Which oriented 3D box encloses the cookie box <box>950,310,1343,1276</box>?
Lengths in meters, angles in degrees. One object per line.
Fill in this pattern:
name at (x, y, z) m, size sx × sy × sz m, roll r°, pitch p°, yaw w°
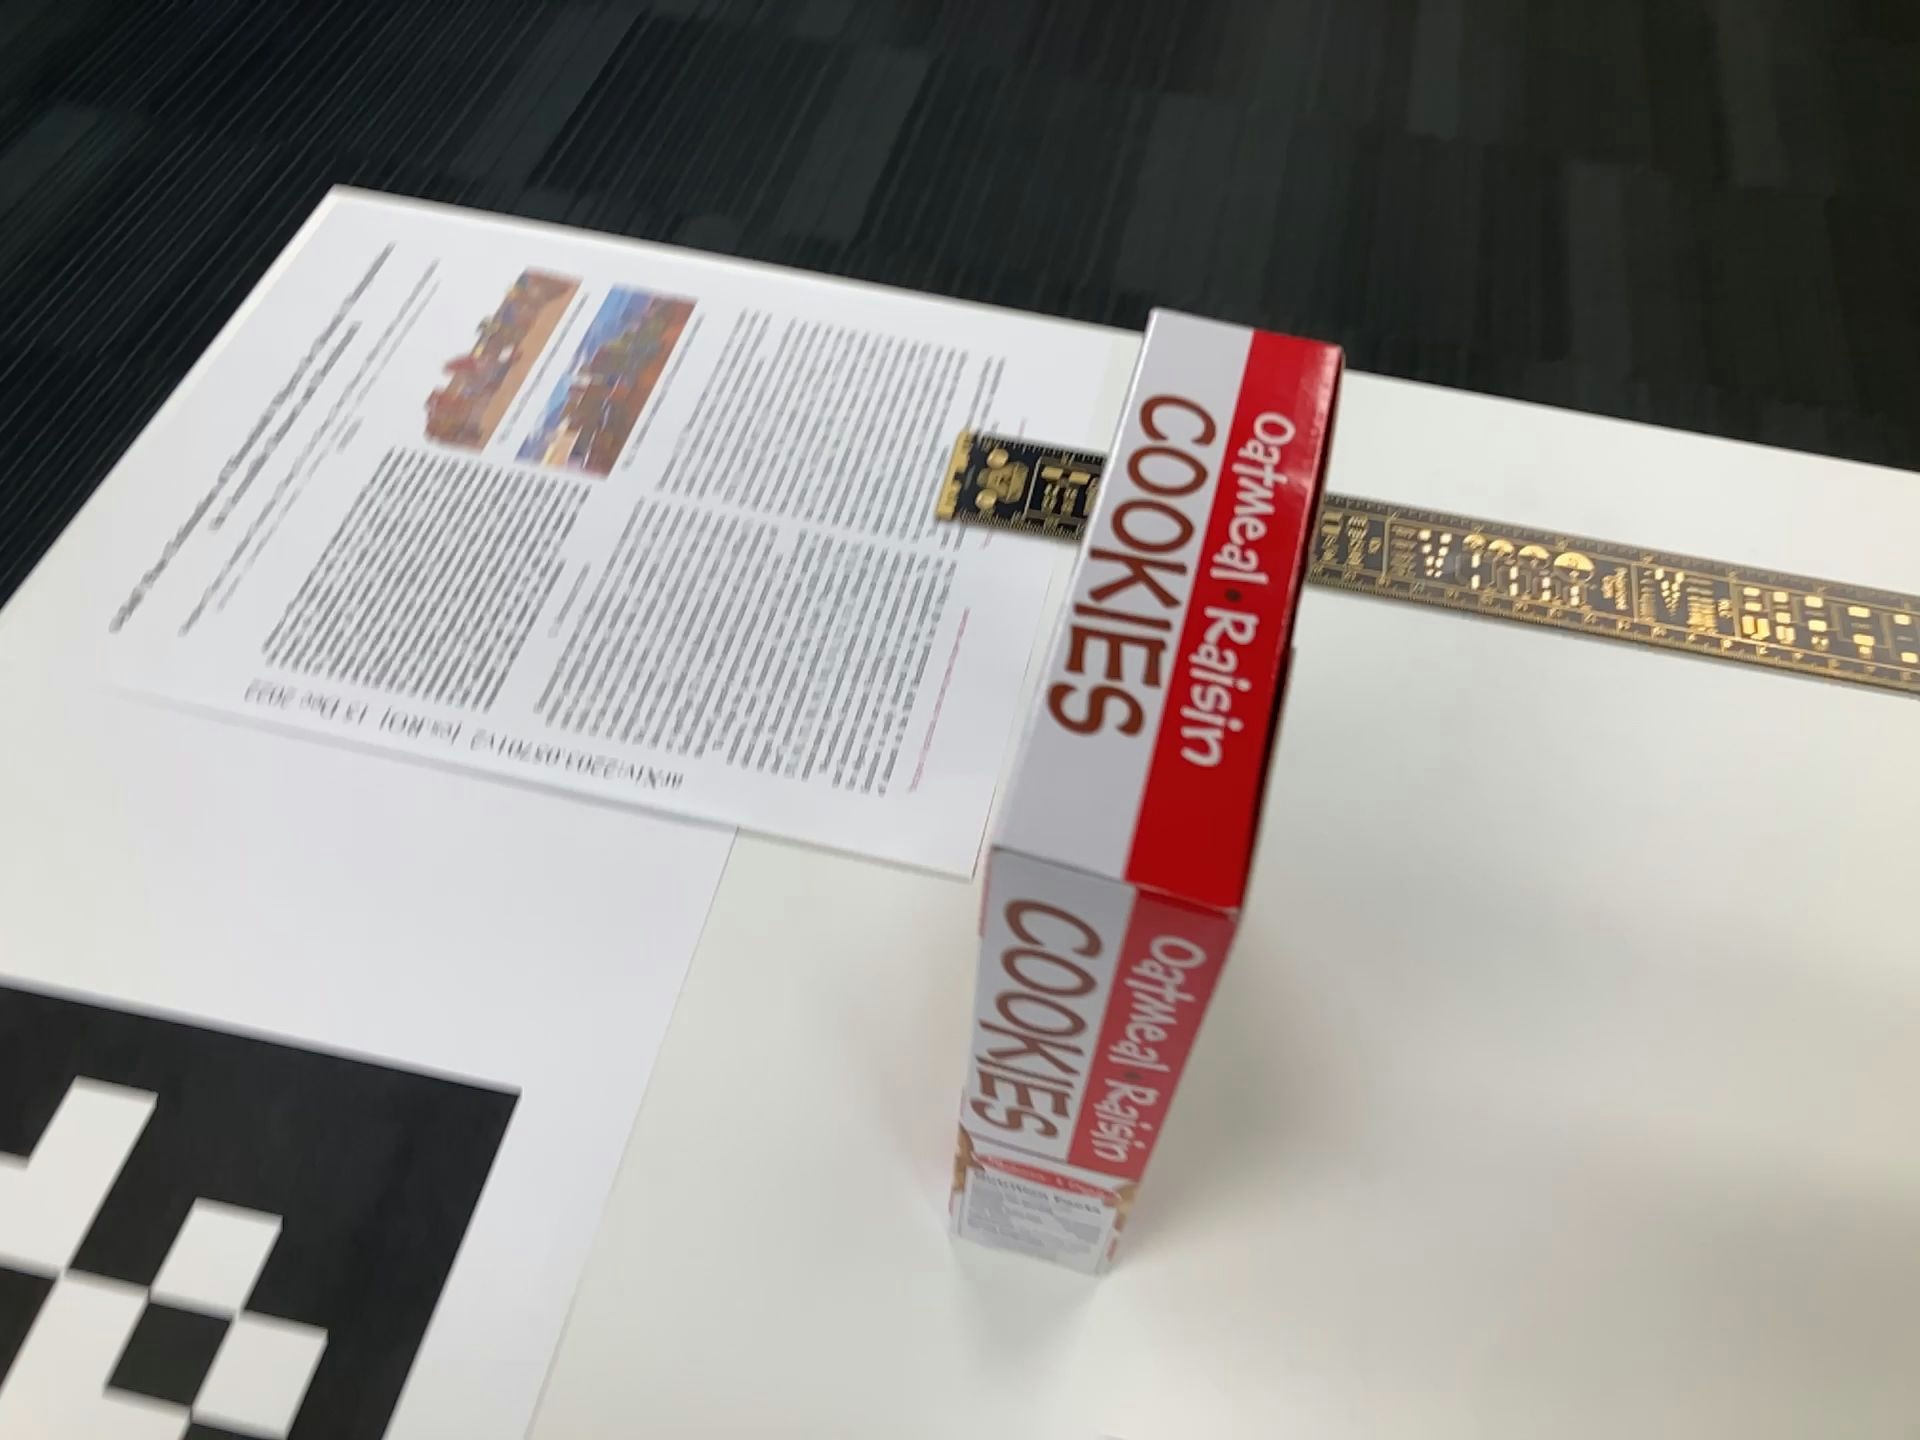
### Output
cookie box at (0.034, 0.023, 0.319) m, size 0.040 × 0.167 × 0.123 m, roll 13°, pitch 54°, yaw 7°
